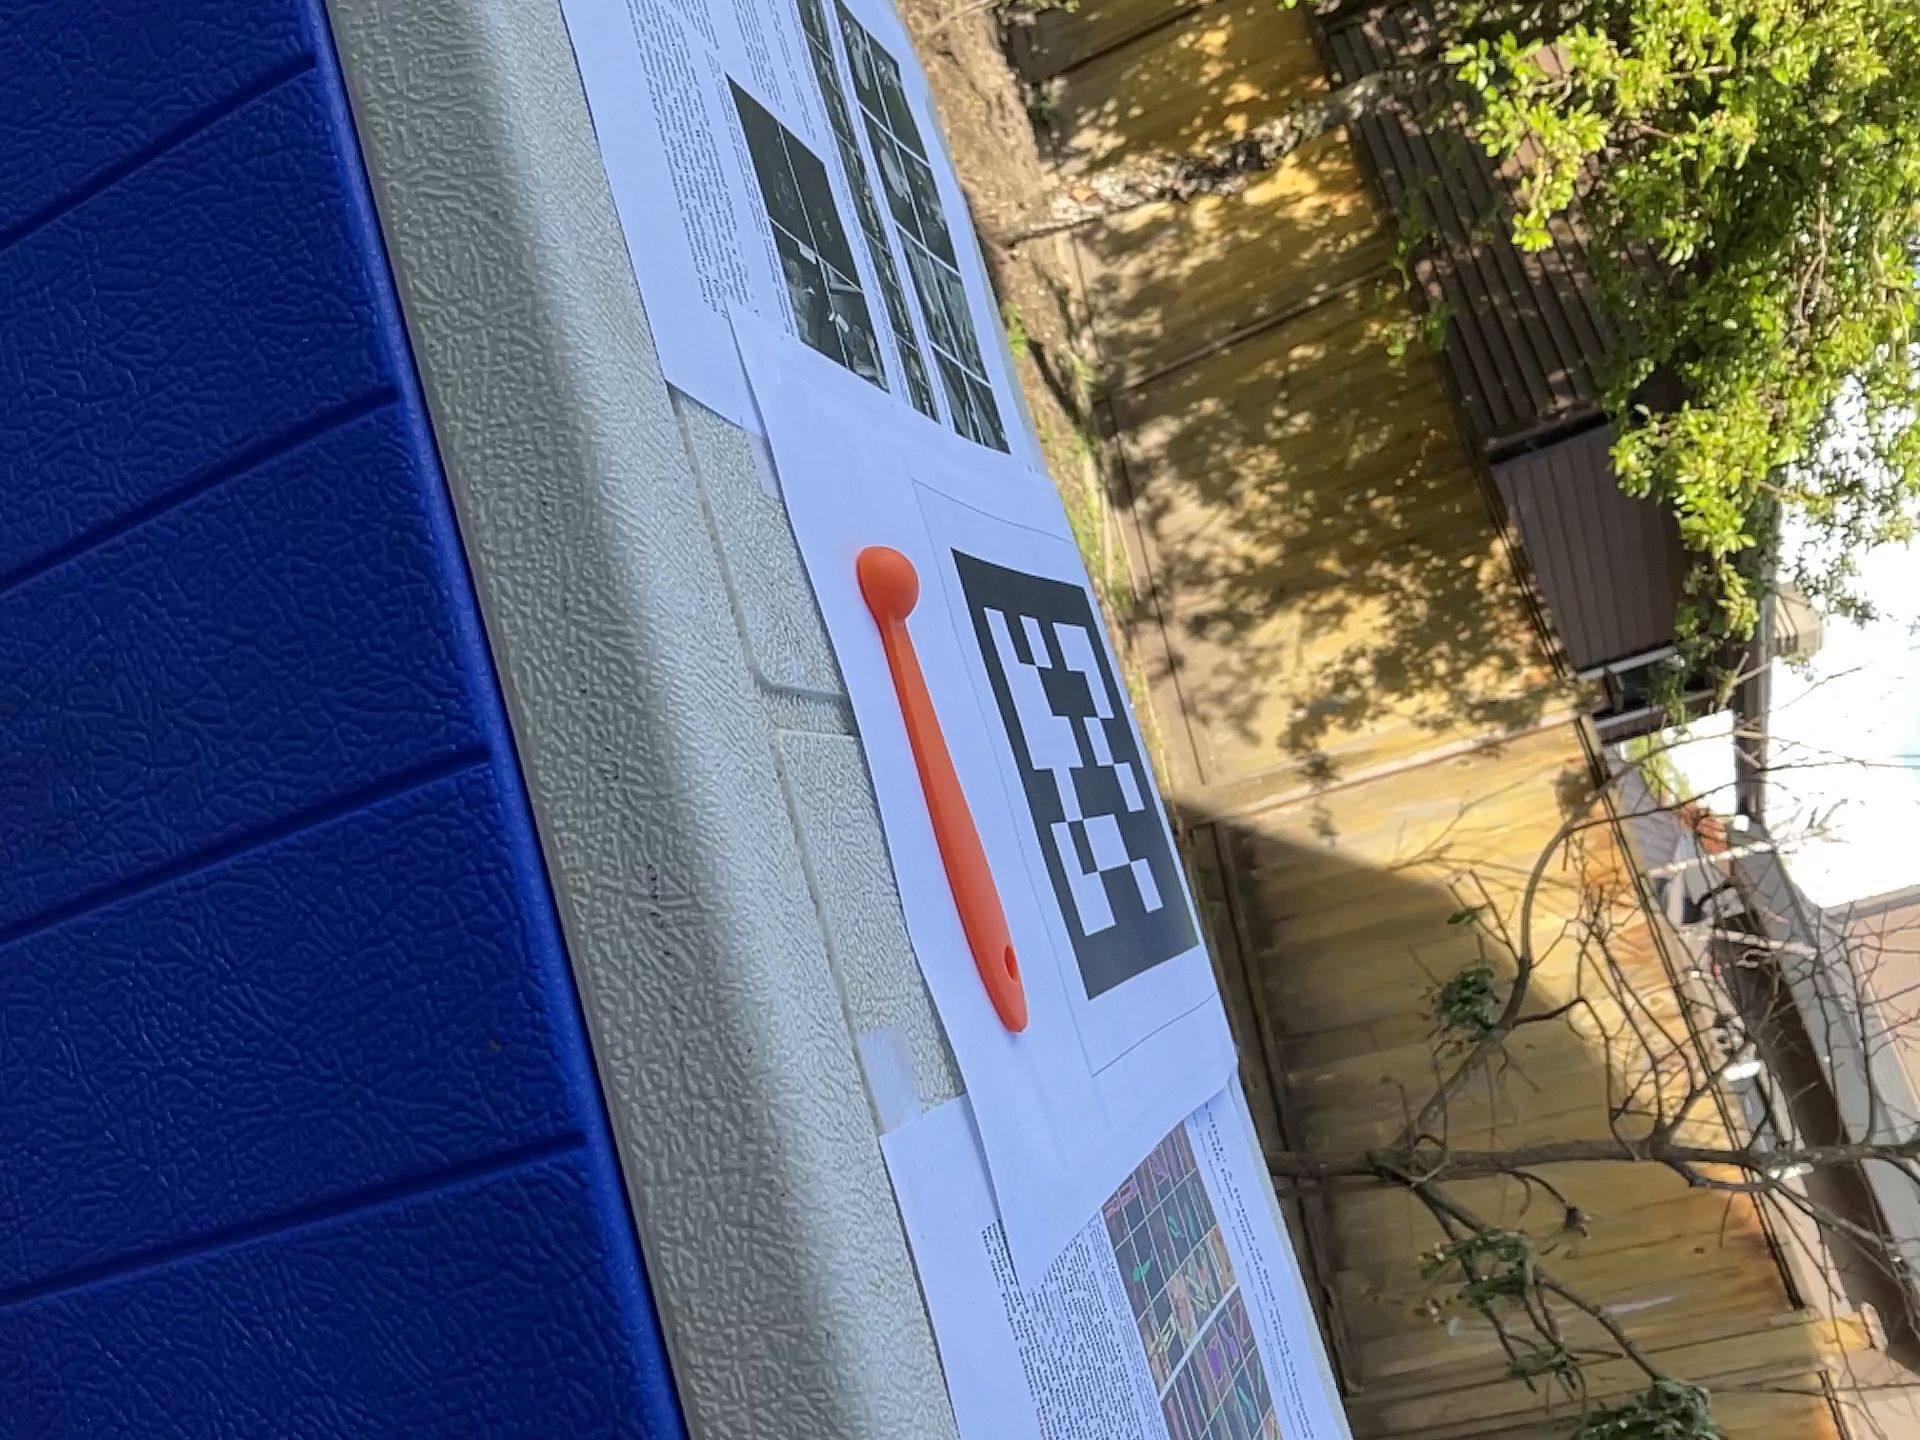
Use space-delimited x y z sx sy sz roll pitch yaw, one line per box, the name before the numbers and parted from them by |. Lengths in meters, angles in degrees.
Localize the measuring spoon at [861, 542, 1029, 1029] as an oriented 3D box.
measuring spoon | 0.000 0.013 0.369 0.021 0.011 0.117 -6 79 -67
